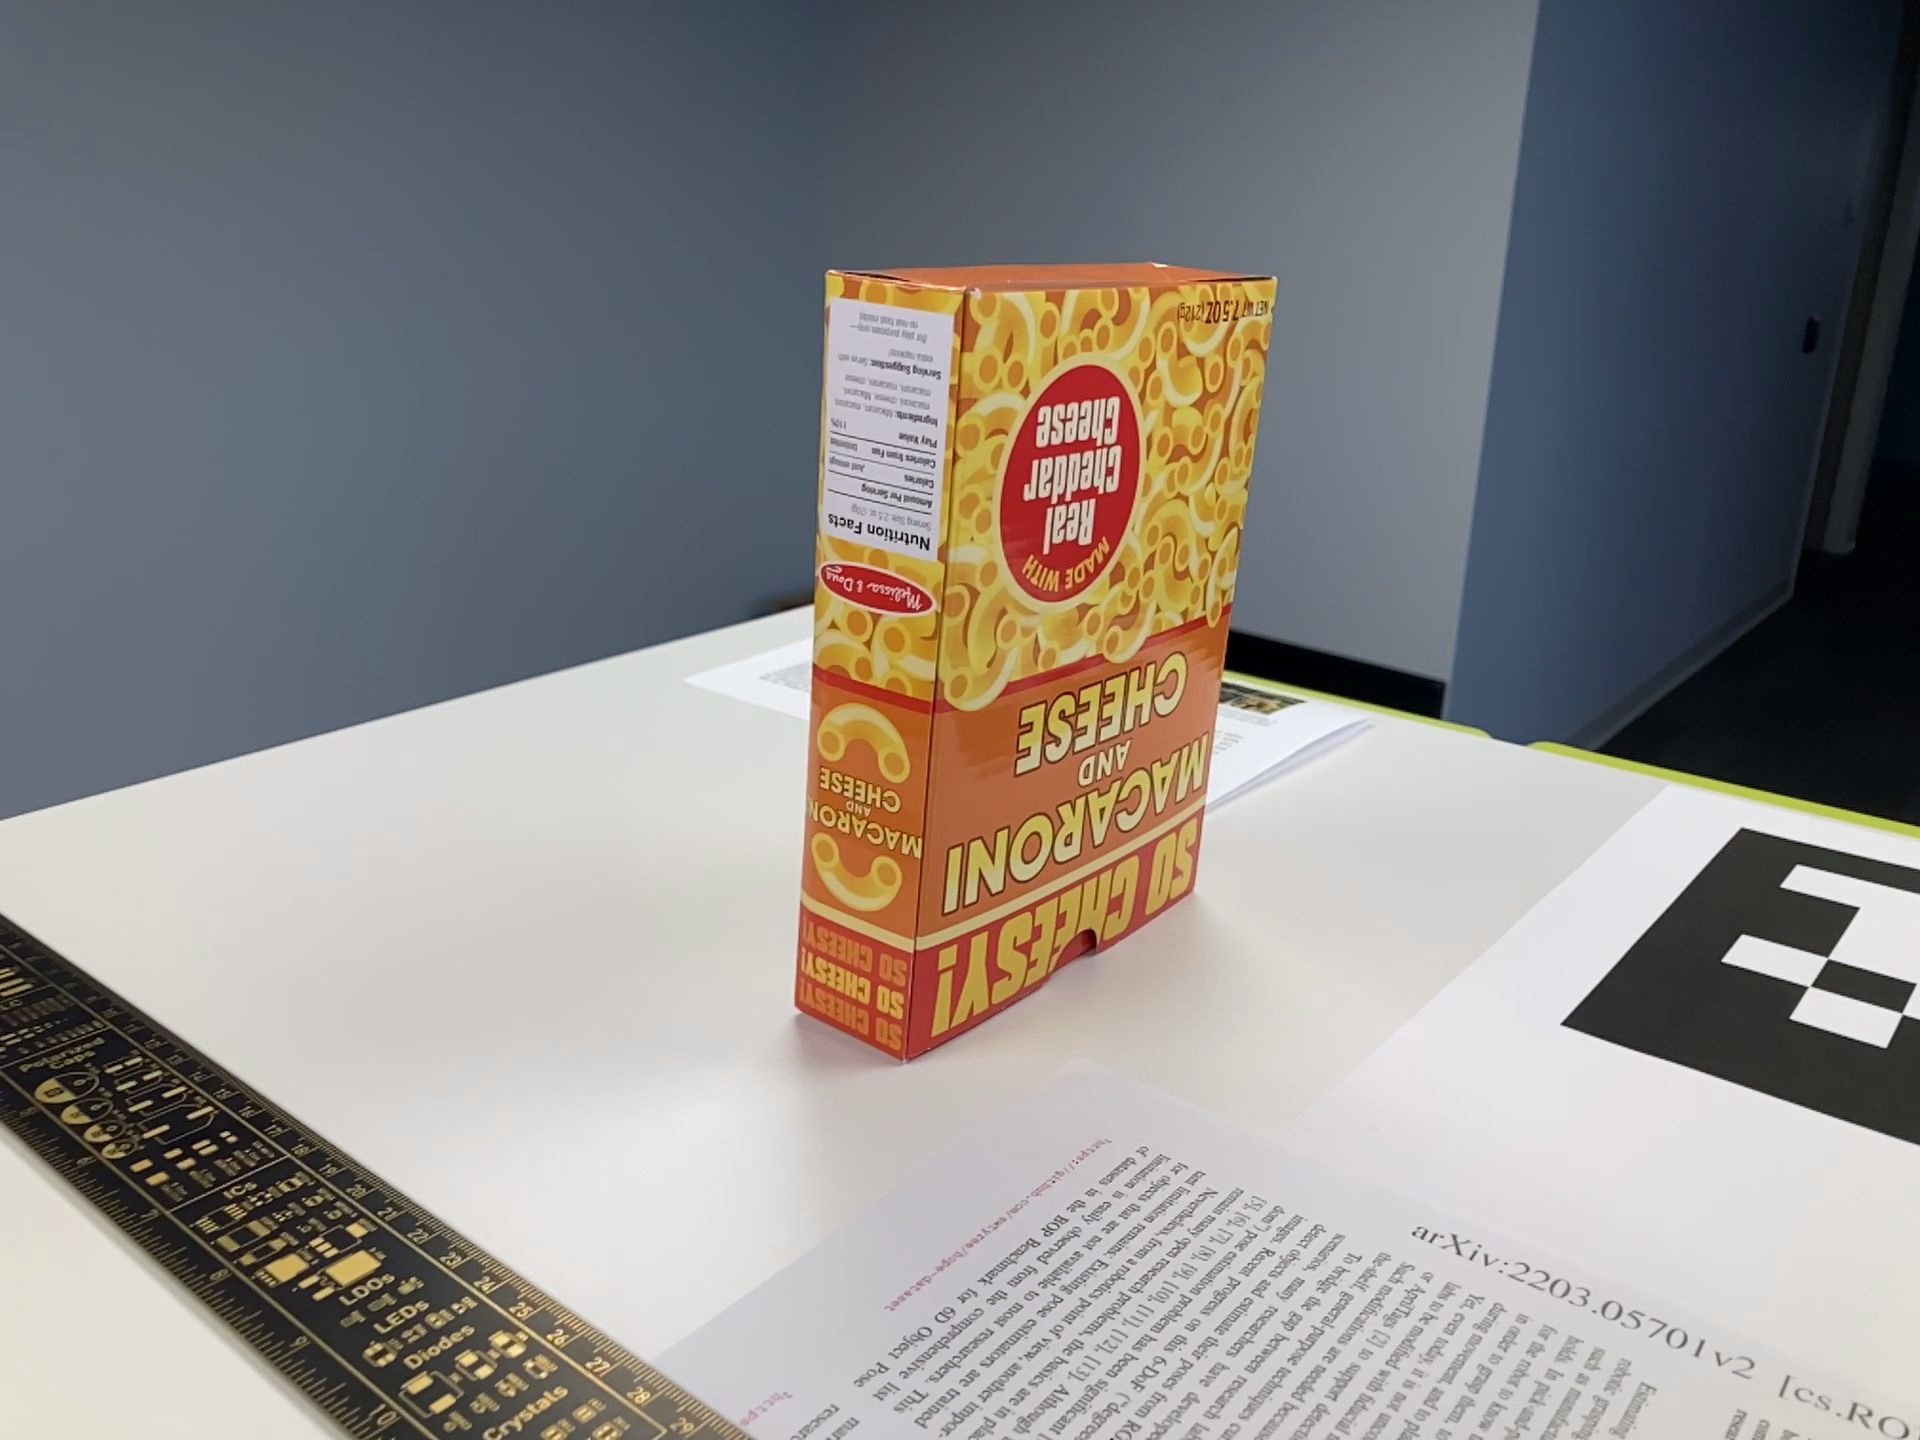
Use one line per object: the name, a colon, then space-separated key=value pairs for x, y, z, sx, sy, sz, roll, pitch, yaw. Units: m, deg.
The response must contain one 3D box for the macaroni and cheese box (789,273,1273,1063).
macaroni and cheese box: x=0.018 y=-0.018 z=0.377 sx=0.040 sy=0.166 sz=0.124 roll=19 pitch=23 yaw=35
